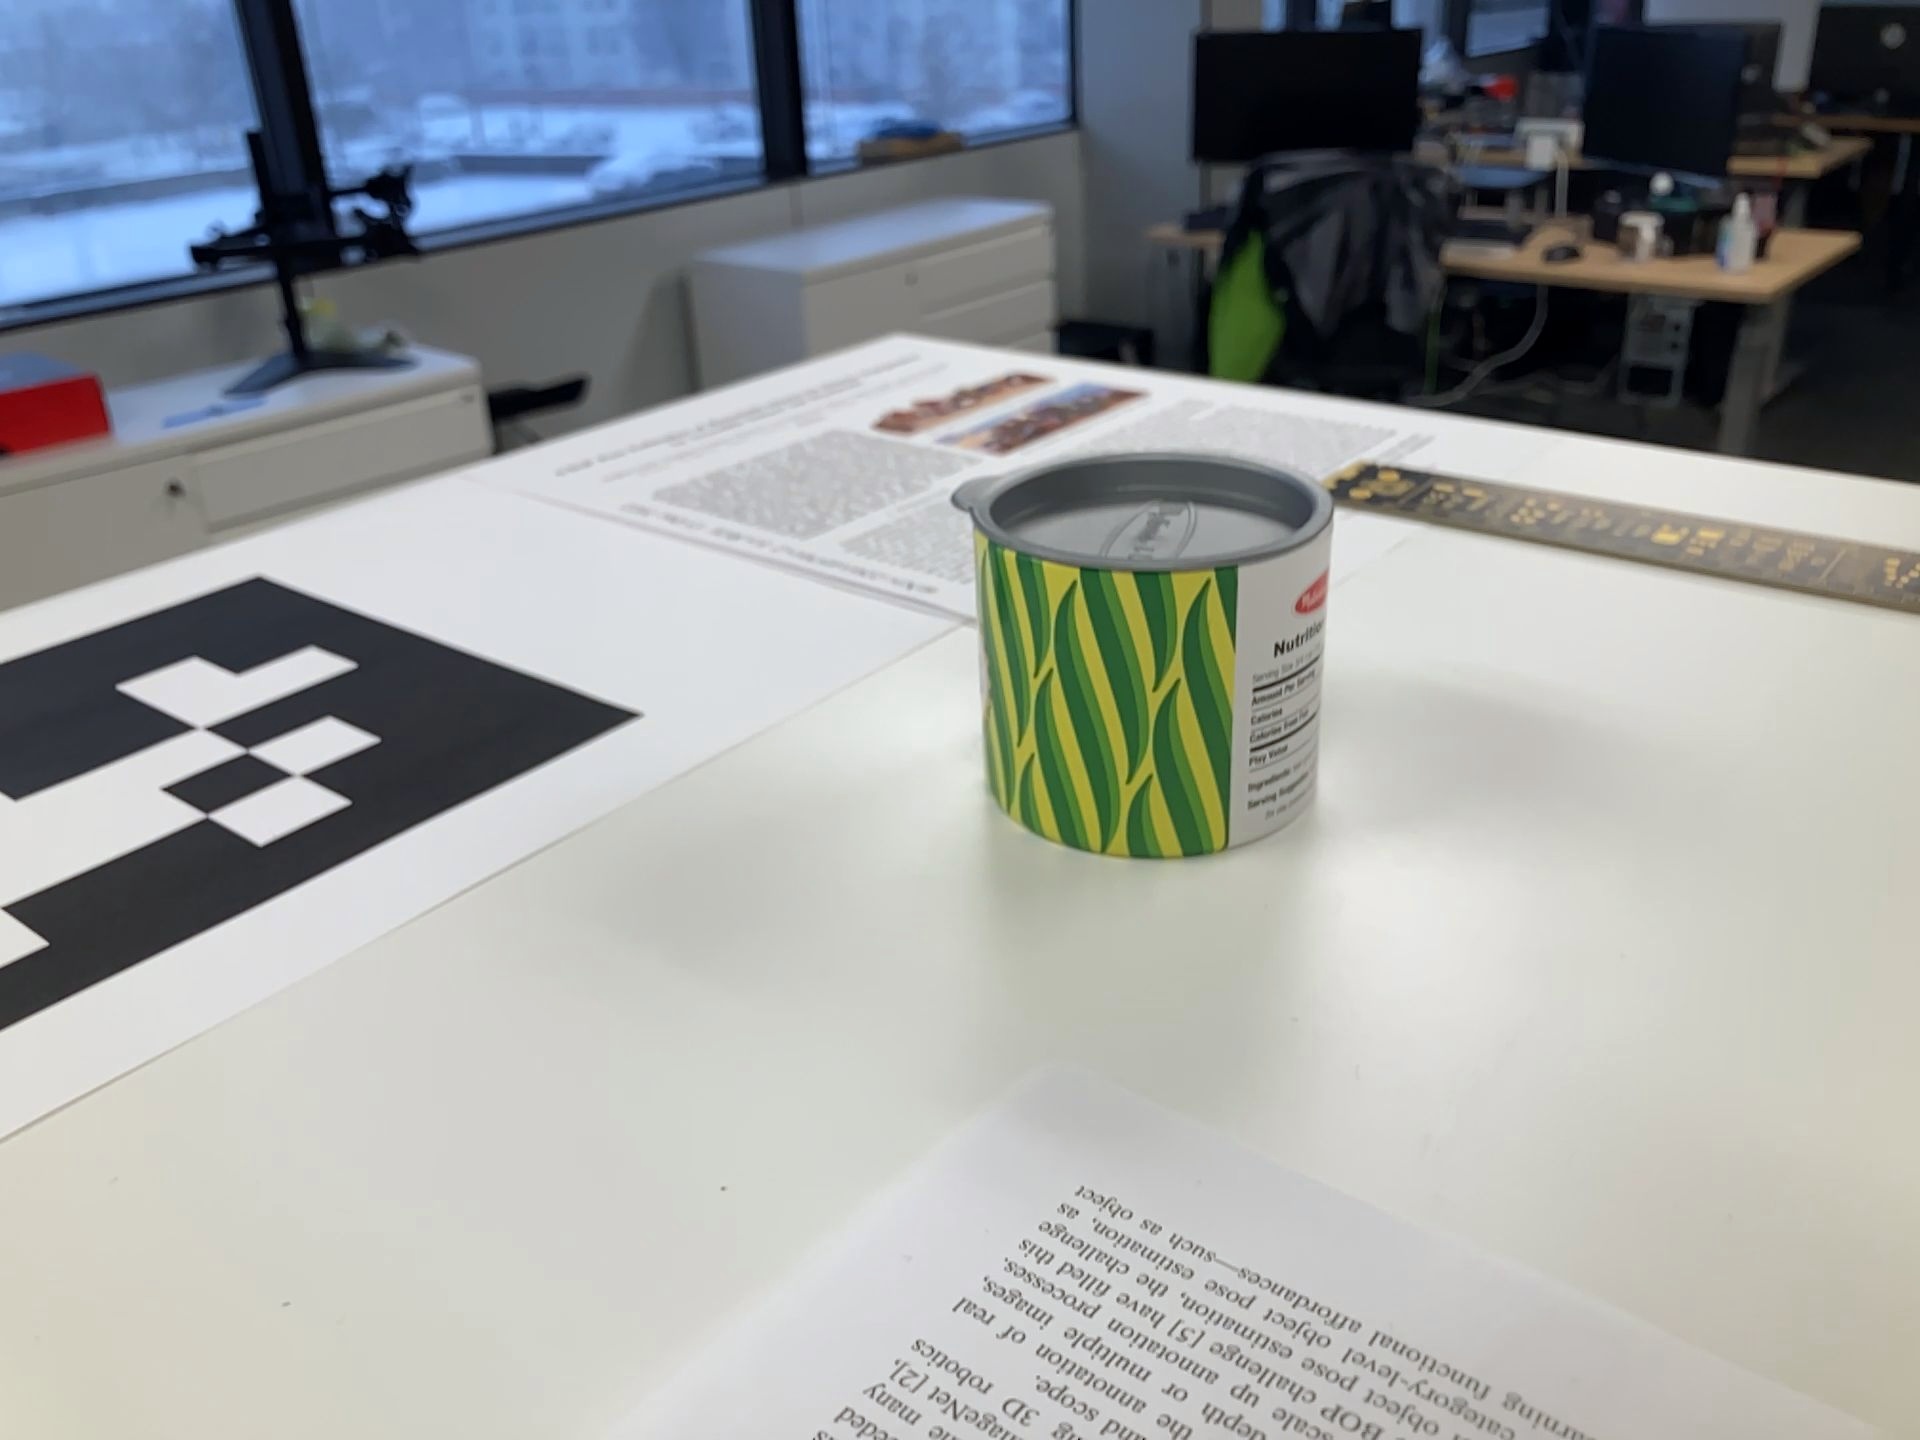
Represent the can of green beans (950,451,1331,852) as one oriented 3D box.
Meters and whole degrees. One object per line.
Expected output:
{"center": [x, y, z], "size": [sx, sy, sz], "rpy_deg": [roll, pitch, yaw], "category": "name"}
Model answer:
{"center": [0.036, -0.015, 0.309], "size": [0.071, 0.058, 0.071], "rpy_deg": [-2, 25, 1], "category": "can of green beans"}
